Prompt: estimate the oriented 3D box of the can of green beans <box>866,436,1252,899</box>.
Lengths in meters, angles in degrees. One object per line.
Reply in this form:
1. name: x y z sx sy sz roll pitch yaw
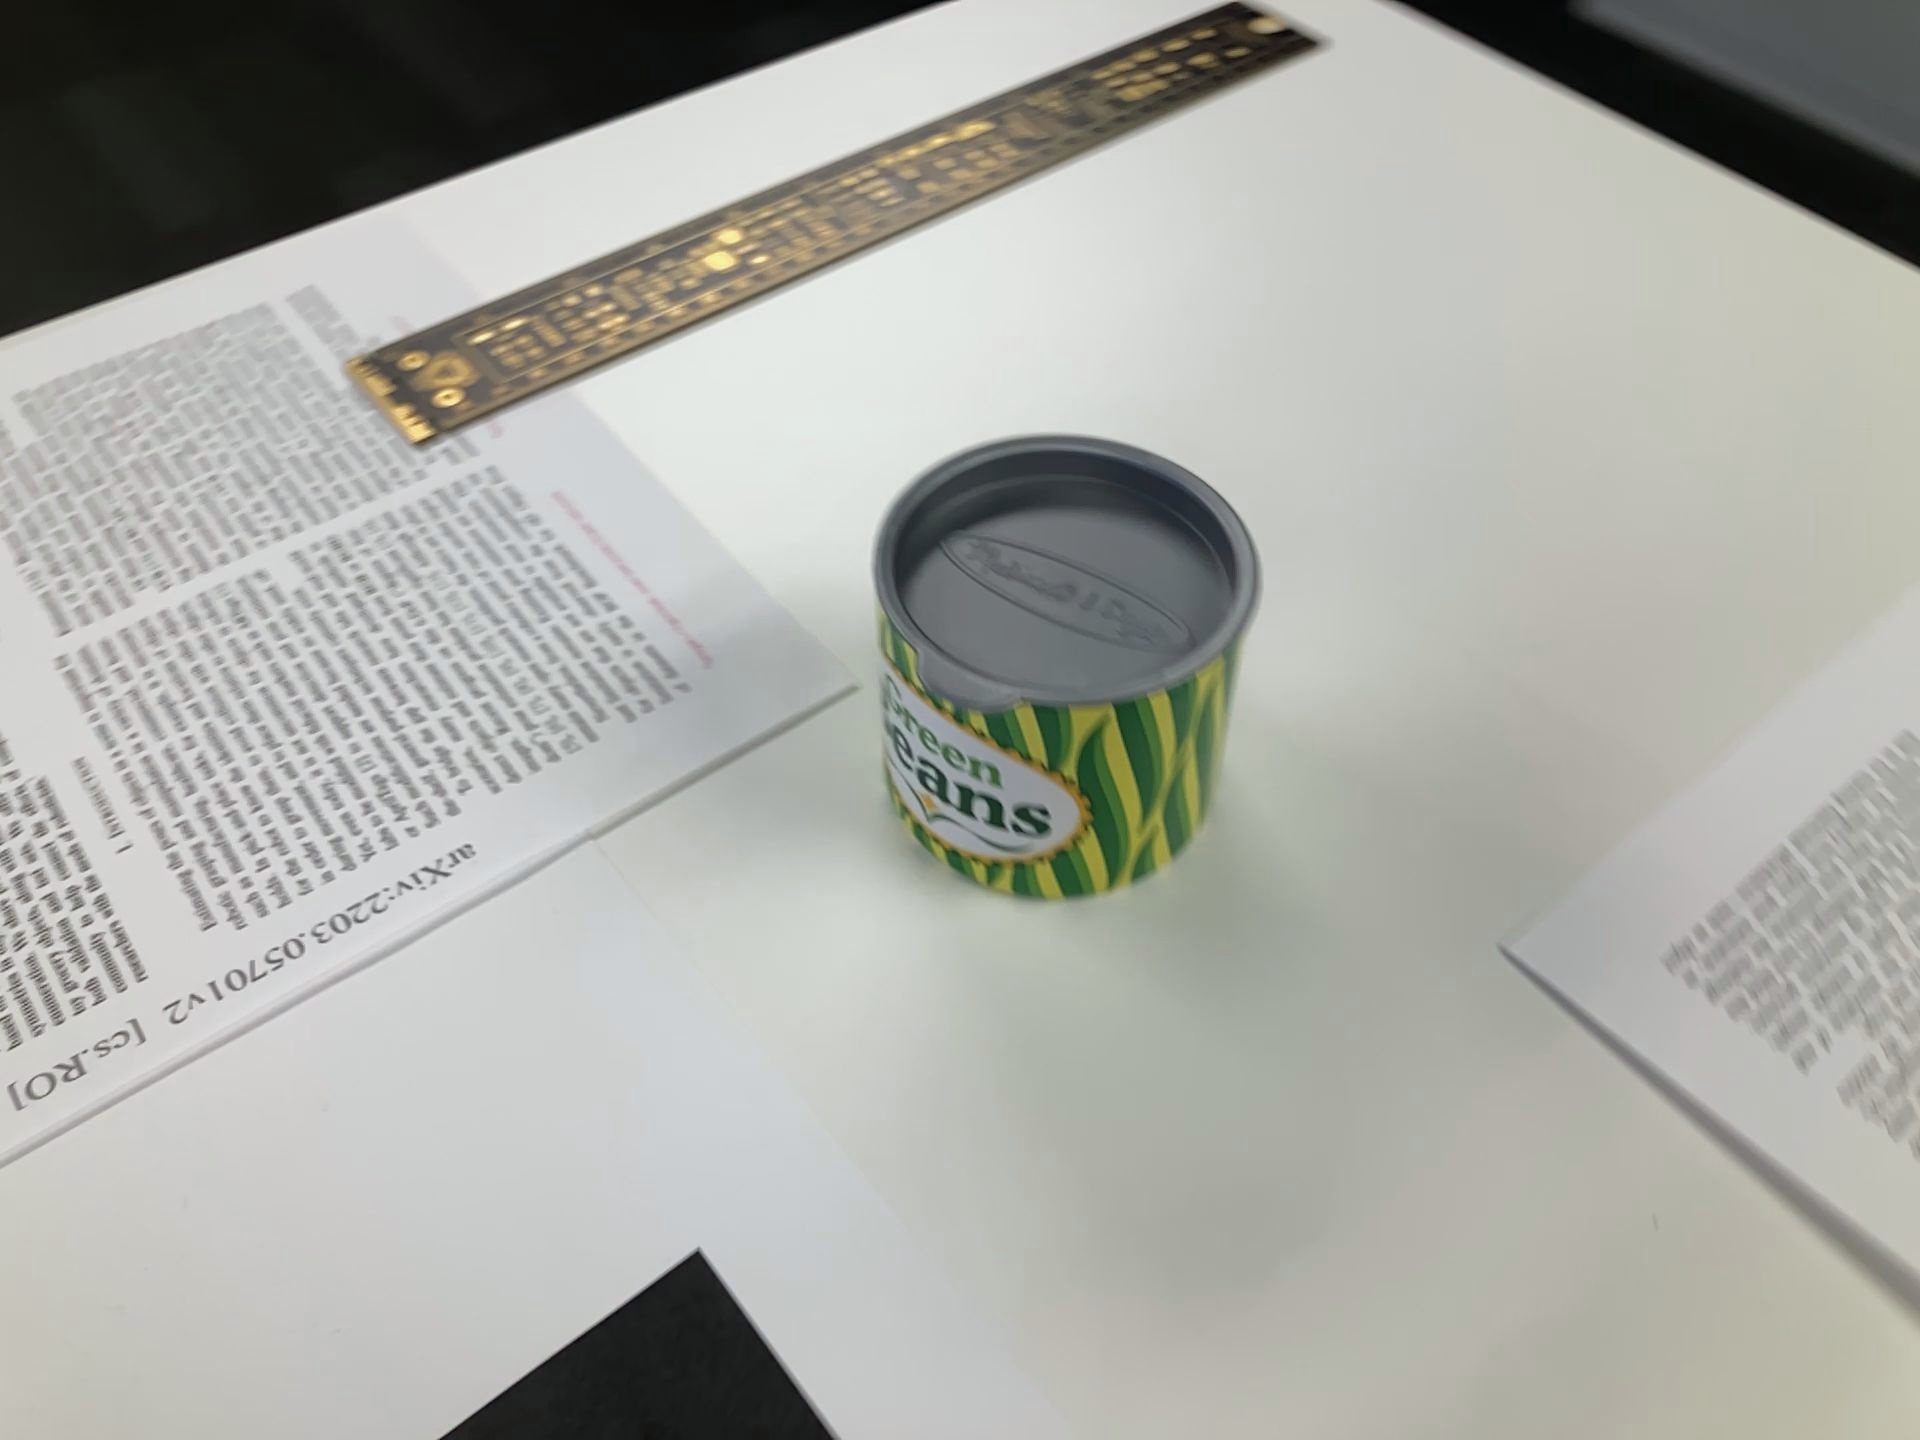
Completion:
1. can of green beans: 0.016 -0.009 0.297 0.071 0.058 0.071 0 49 -1
